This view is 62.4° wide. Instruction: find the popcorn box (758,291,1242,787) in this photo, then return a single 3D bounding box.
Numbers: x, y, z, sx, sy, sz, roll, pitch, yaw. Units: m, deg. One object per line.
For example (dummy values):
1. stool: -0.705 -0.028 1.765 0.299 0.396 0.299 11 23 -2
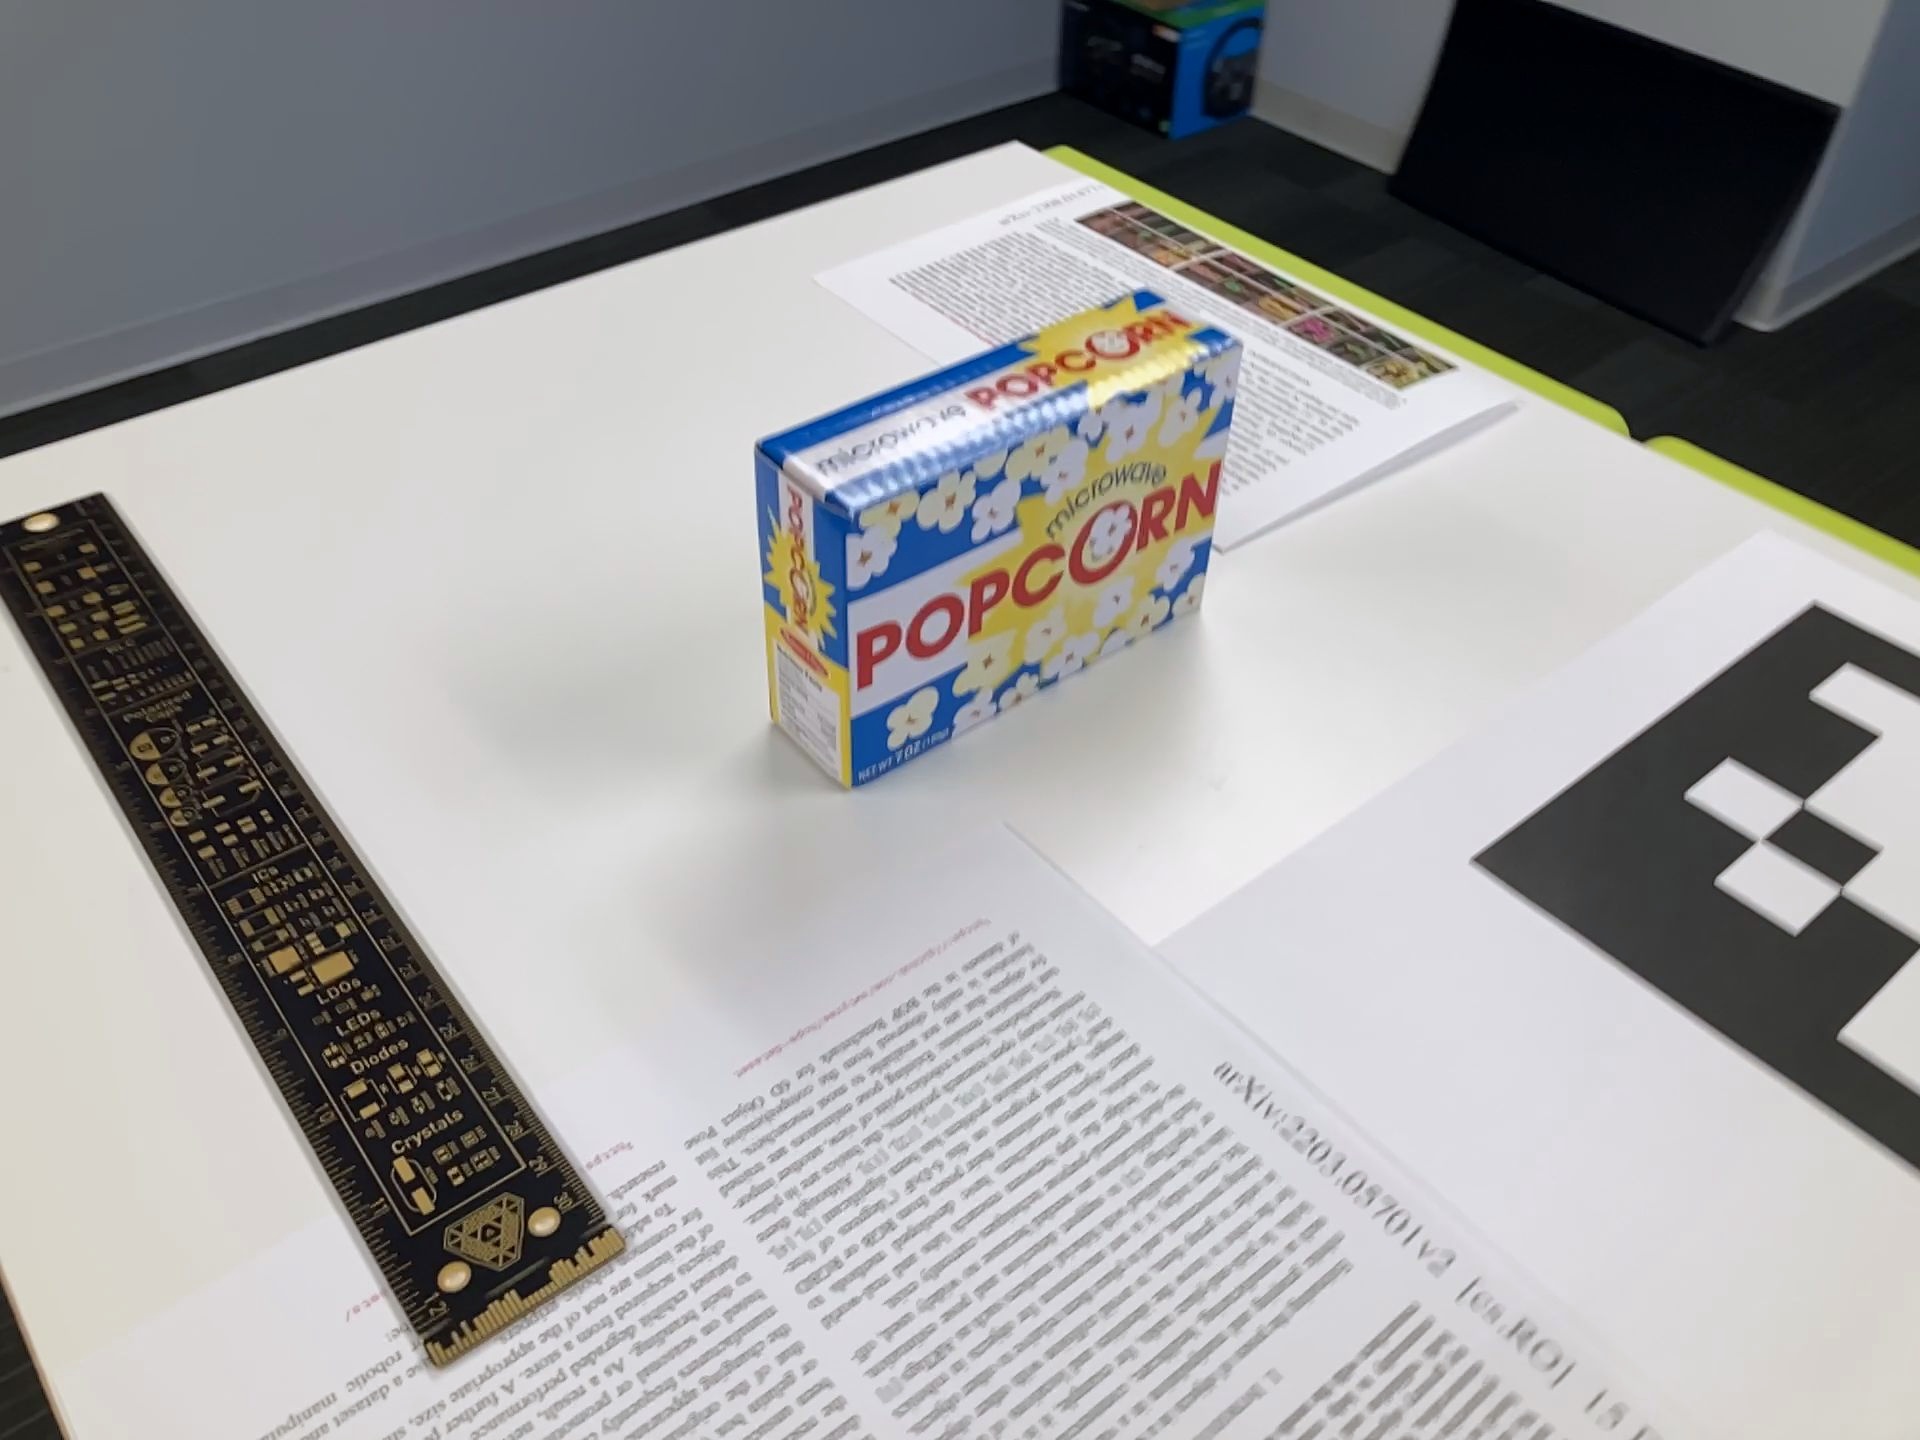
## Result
1. popcorn box: 0.011 -0.048 0.405 0.126 0.085 0.038 -28 49 -29
